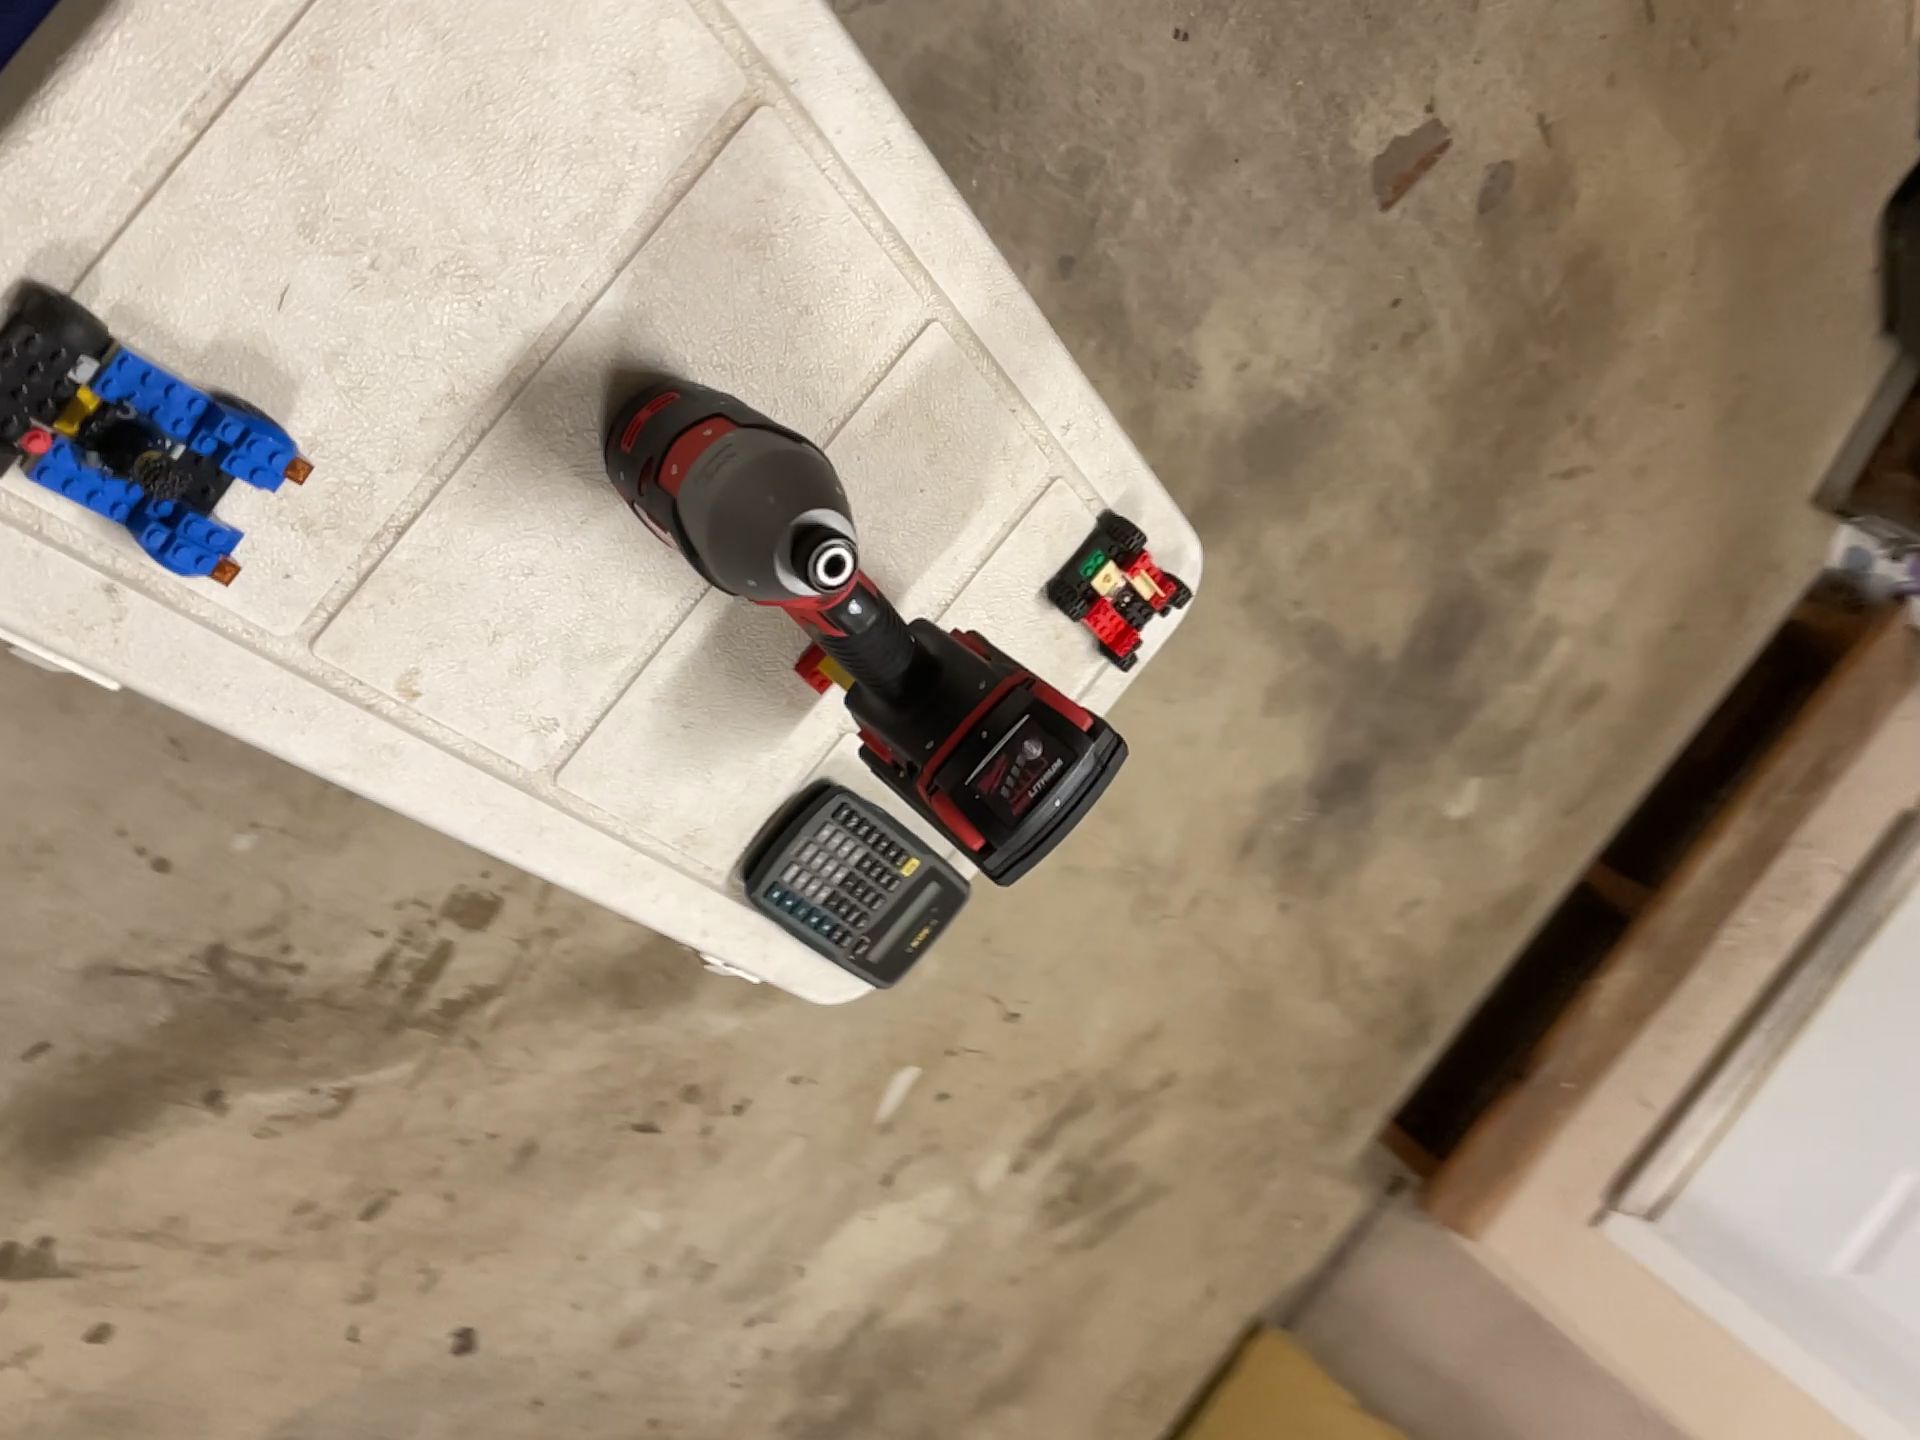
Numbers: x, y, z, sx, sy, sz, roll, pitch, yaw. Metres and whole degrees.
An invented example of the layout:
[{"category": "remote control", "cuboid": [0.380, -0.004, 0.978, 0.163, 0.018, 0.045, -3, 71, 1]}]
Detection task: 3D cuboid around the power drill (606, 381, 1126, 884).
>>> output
[{"category": "power drill", "cuboid": [-0.035, -0.034, 0.622, 0.078, 0.143, 0.219, -48, 130, -4]}]
